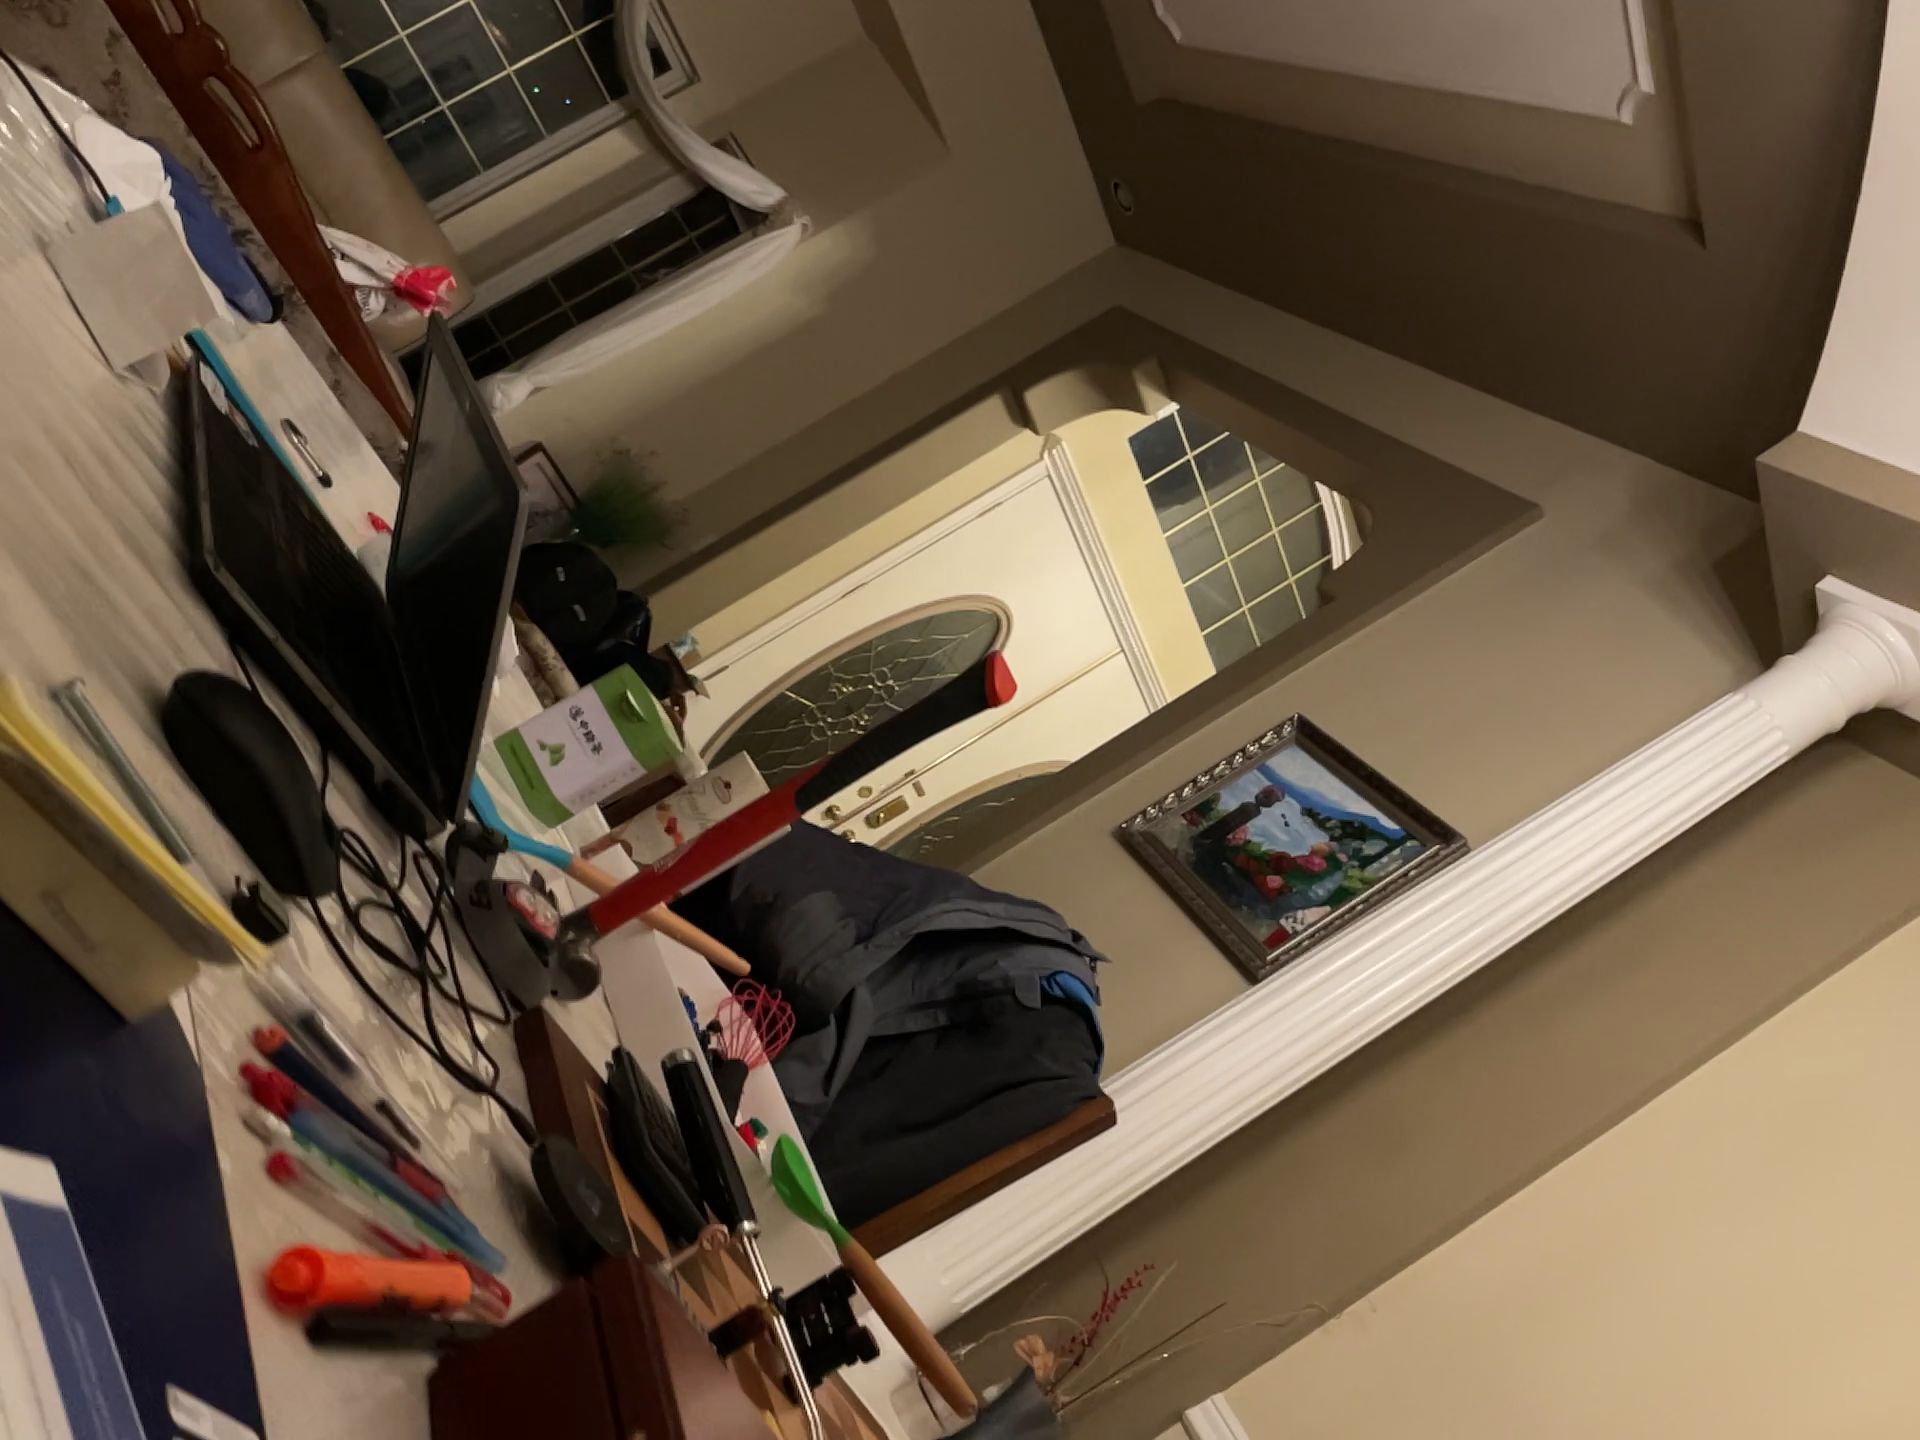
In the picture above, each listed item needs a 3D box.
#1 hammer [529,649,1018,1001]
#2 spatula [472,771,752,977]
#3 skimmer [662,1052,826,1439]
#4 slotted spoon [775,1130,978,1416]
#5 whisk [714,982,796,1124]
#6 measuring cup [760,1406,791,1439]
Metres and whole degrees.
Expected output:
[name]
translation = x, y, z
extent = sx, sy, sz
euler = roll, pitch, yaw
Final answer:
[hammer]
translation = -0.134, 0.056, 1.144
extent = 0.038, 0.386, 0.143
euler = 62, -7, -31
[spatula]
translation = -0.278, 0.116, 1.241
extent = 0.317, 0.044, 0.082
euler = 38, 3, -29
[skimmer]
translation = -0.073, 0.330, 0.899
extent = 0.364, 0.090, 0.127
euler = 59, -3, 33
[slotted spoon]
translation = -0.061, 0.351, 1.025
extent = 0.314, 0.031, 0.070
euler = 25, -35, 62
[whisk]
translation = -0.192, 0.297, 1.382
extent = 0.073, 0.073, 0.296
euler = 41, 10, -6
[measuring cup]
translation = -0.072, 0.377, 0.726
extent = 0.062, 0.029, 0.156
euler = 44, -28, 55
